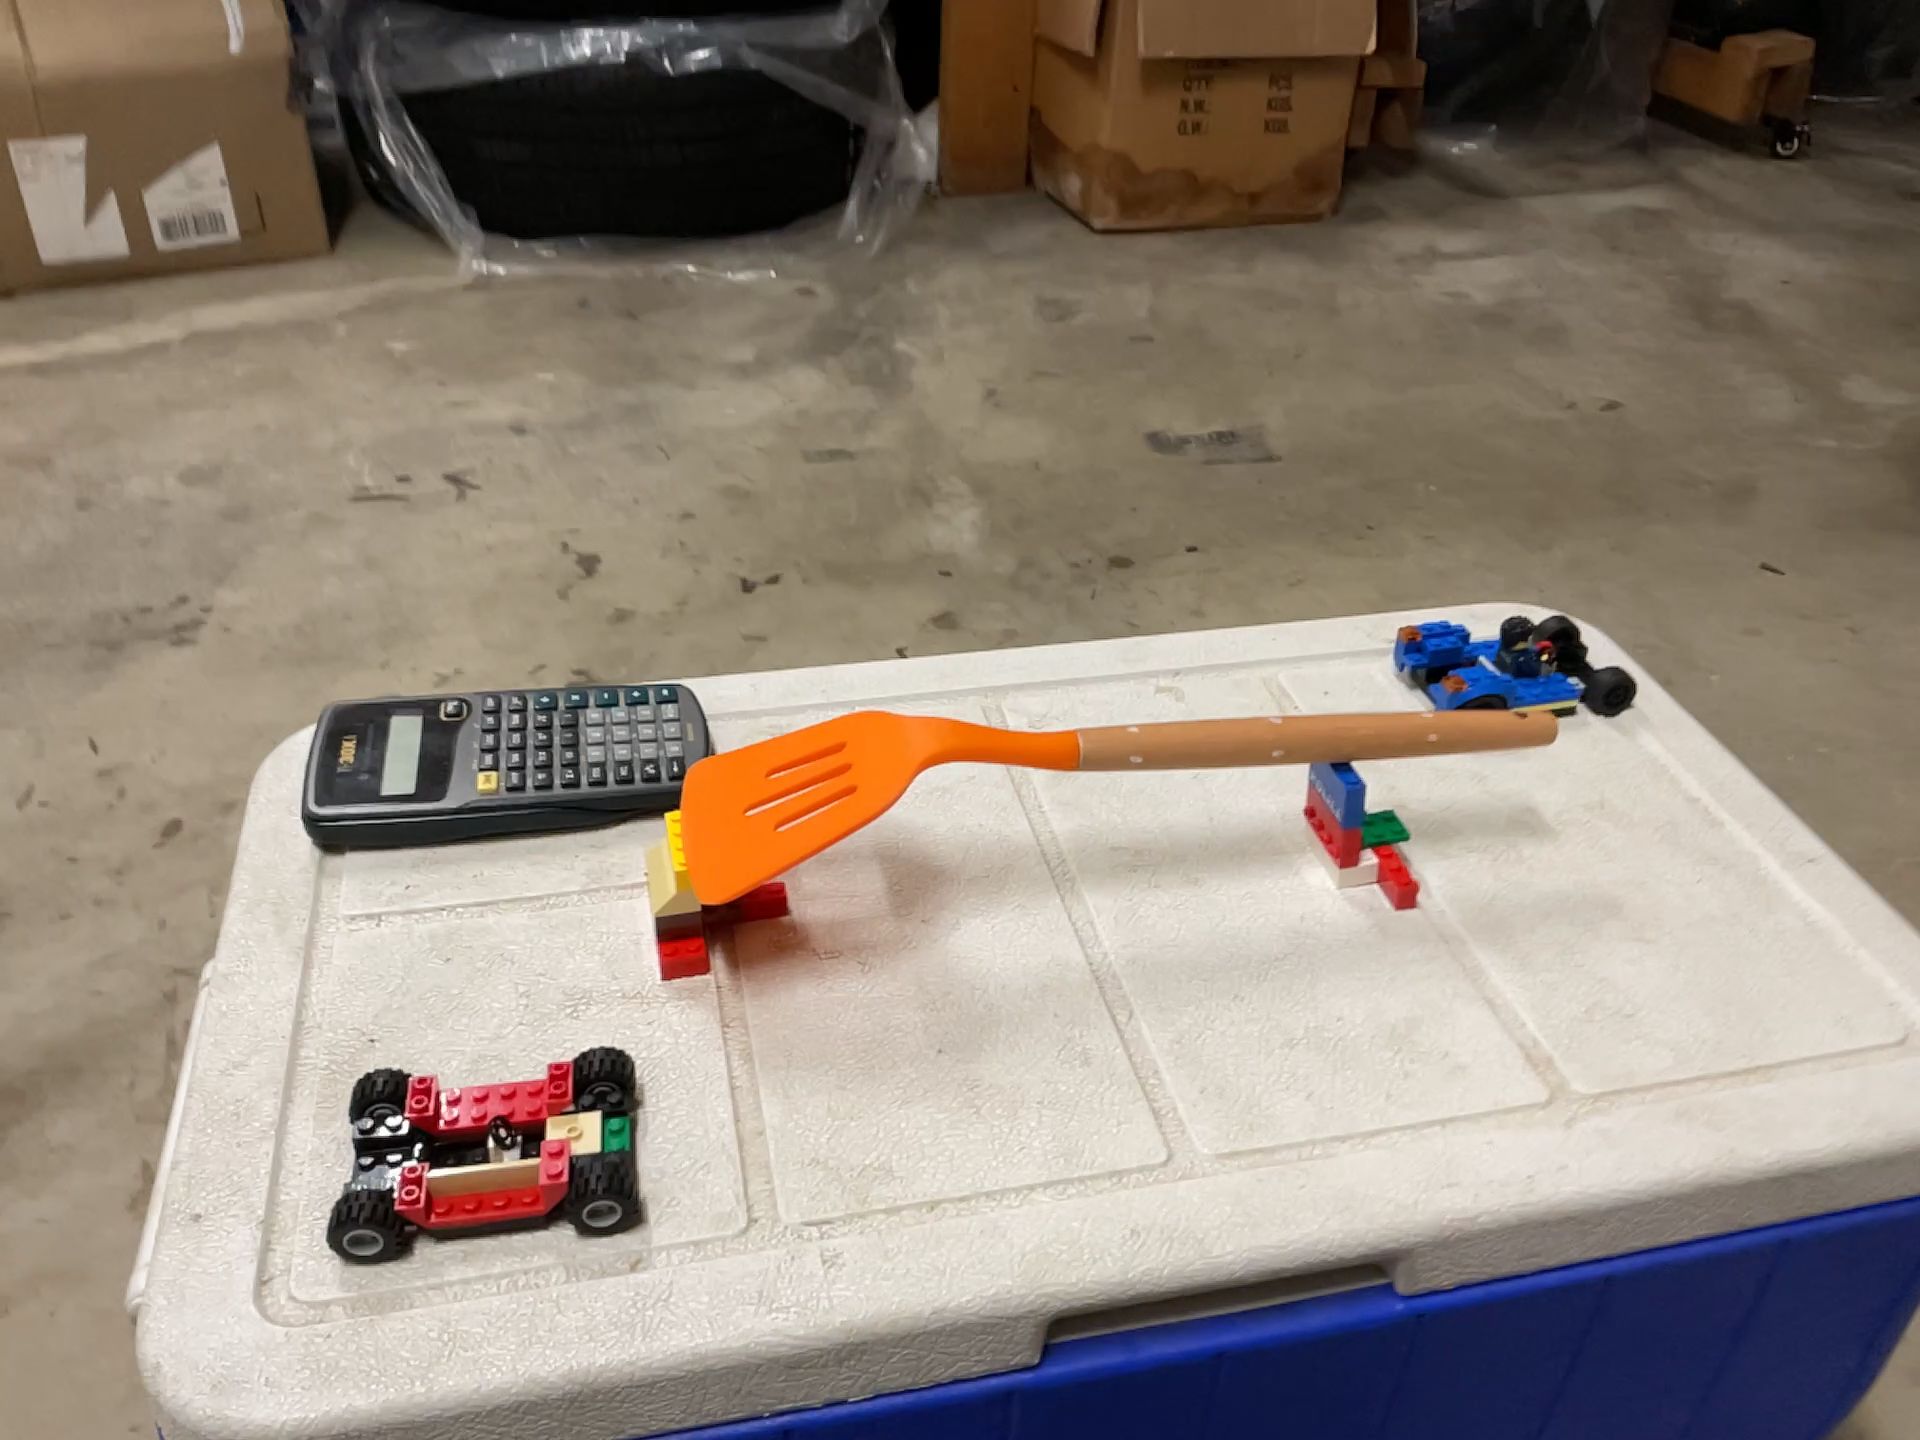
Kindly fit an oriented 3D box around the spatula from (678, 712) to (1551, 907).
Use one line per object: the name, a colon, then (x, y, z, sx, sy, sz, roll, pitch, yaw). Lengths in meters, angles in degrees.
spatula: (0.062, 0.018, 0.573, 0.322, 0.041, 0.081, -2, 34, -13)
